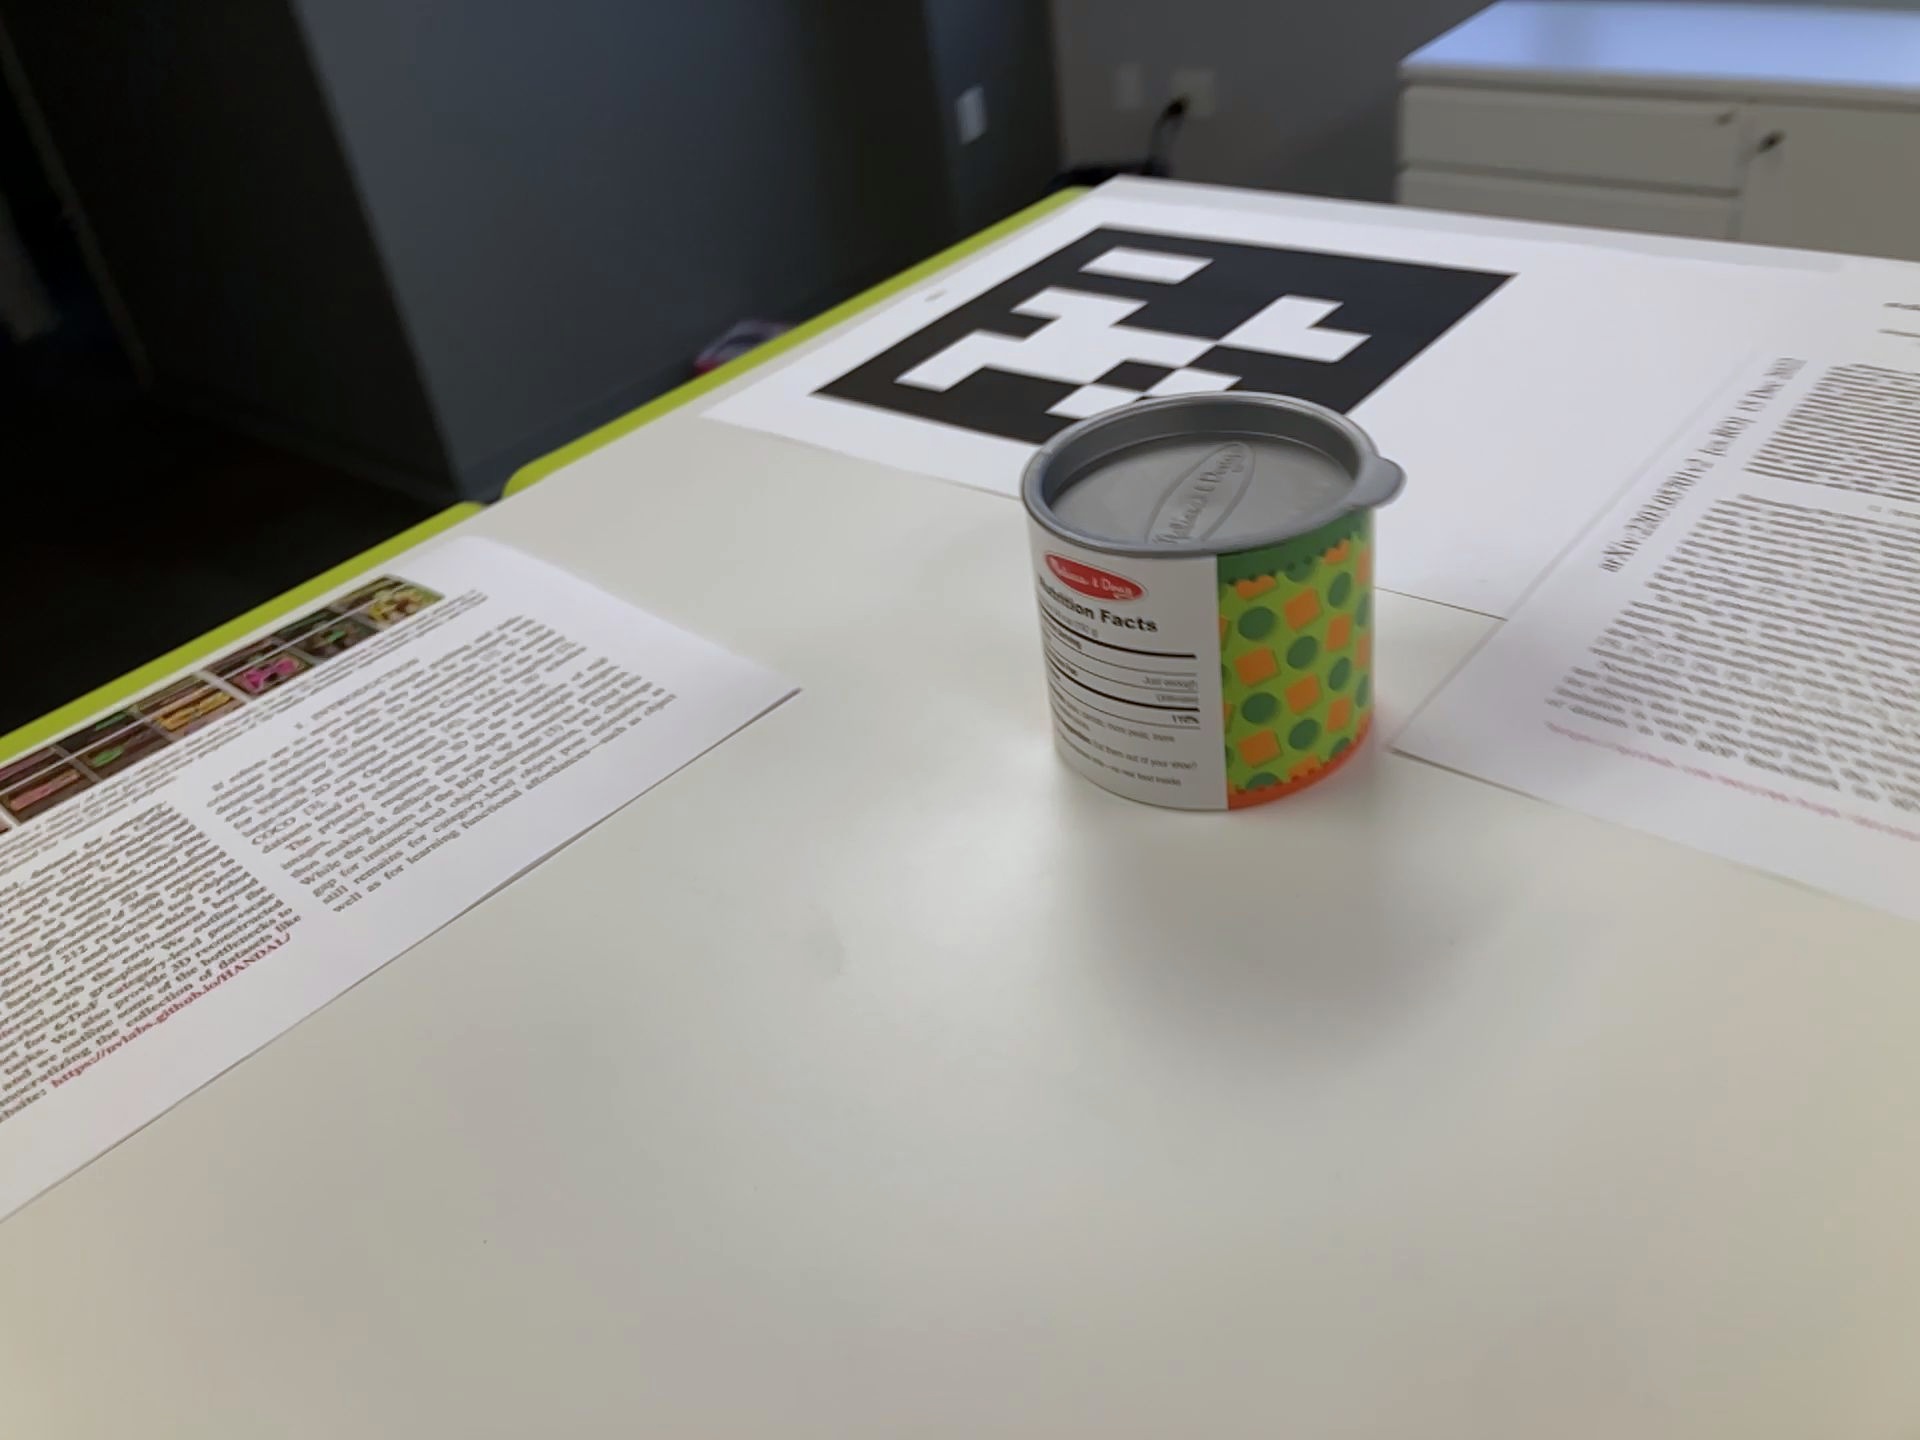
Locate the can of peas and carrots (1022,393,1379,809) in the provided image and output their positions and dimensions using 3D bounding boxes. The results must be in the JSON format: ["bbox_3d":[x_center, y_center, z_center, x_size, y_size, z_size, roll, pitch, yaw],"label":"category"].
[{"bbox_3d":[0.050,-0.026,0.316,0.071,0.059,0.071,-6,34,4],"label":"can of peas and carrots"}]
